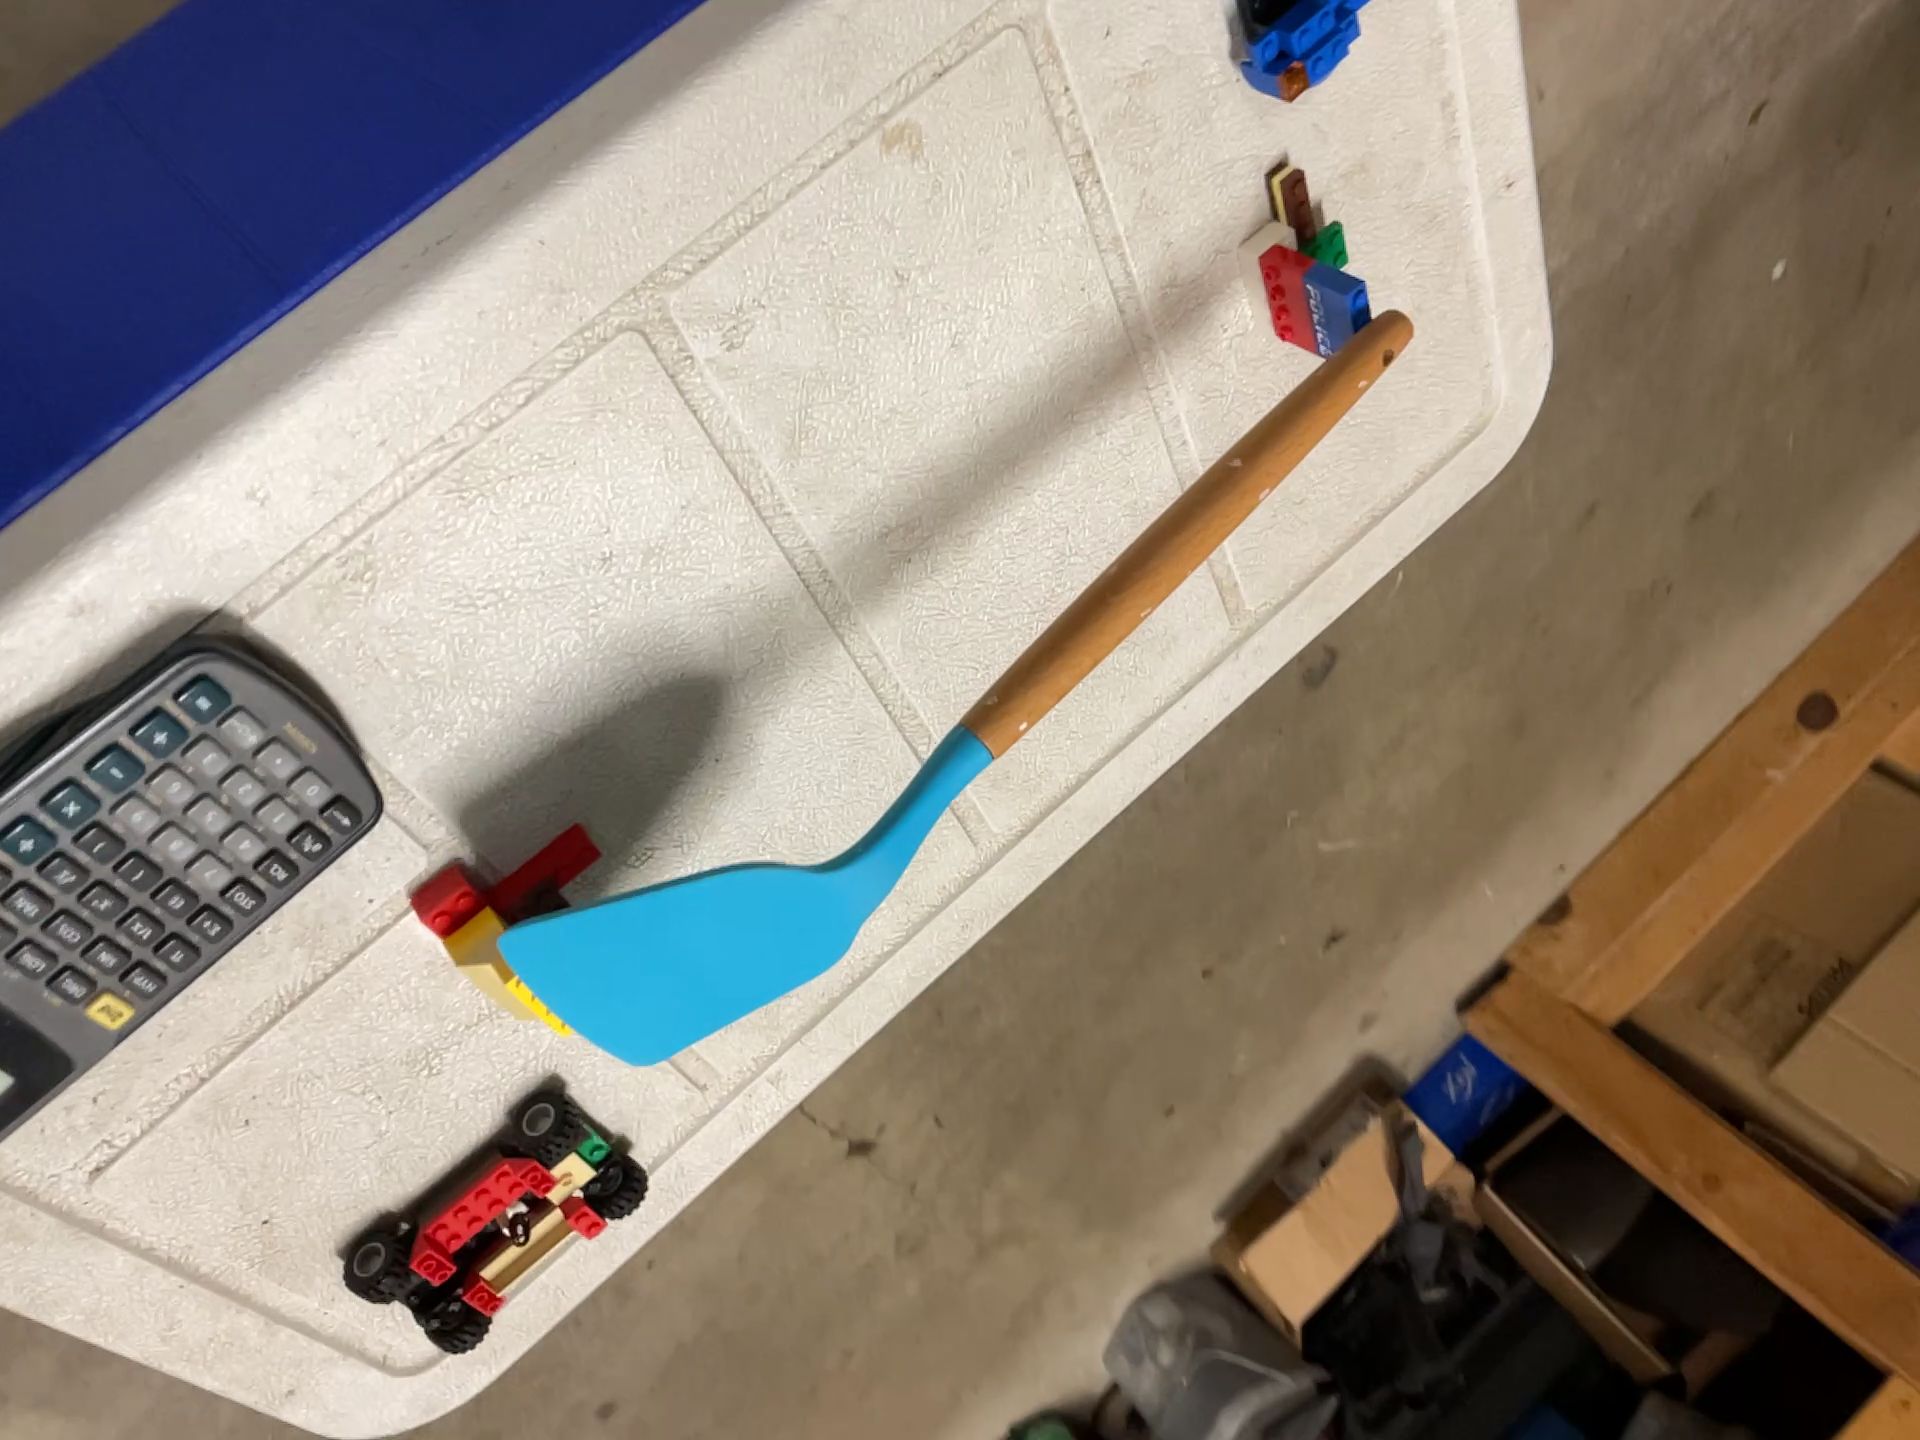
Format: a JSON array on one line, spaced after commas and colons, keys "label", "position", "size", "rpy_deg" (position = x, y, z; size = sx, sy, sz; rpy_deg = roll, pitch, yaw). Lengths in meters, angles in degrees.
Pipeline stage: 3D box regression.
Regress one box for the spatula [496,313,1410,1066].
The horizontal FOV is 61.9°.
[{"label": "spatula", "position": [0.015, -0.017, 0.460], "size": [0.317, 0.044, 0.082], "rpy_deg": [-44, 138, -12]}]
